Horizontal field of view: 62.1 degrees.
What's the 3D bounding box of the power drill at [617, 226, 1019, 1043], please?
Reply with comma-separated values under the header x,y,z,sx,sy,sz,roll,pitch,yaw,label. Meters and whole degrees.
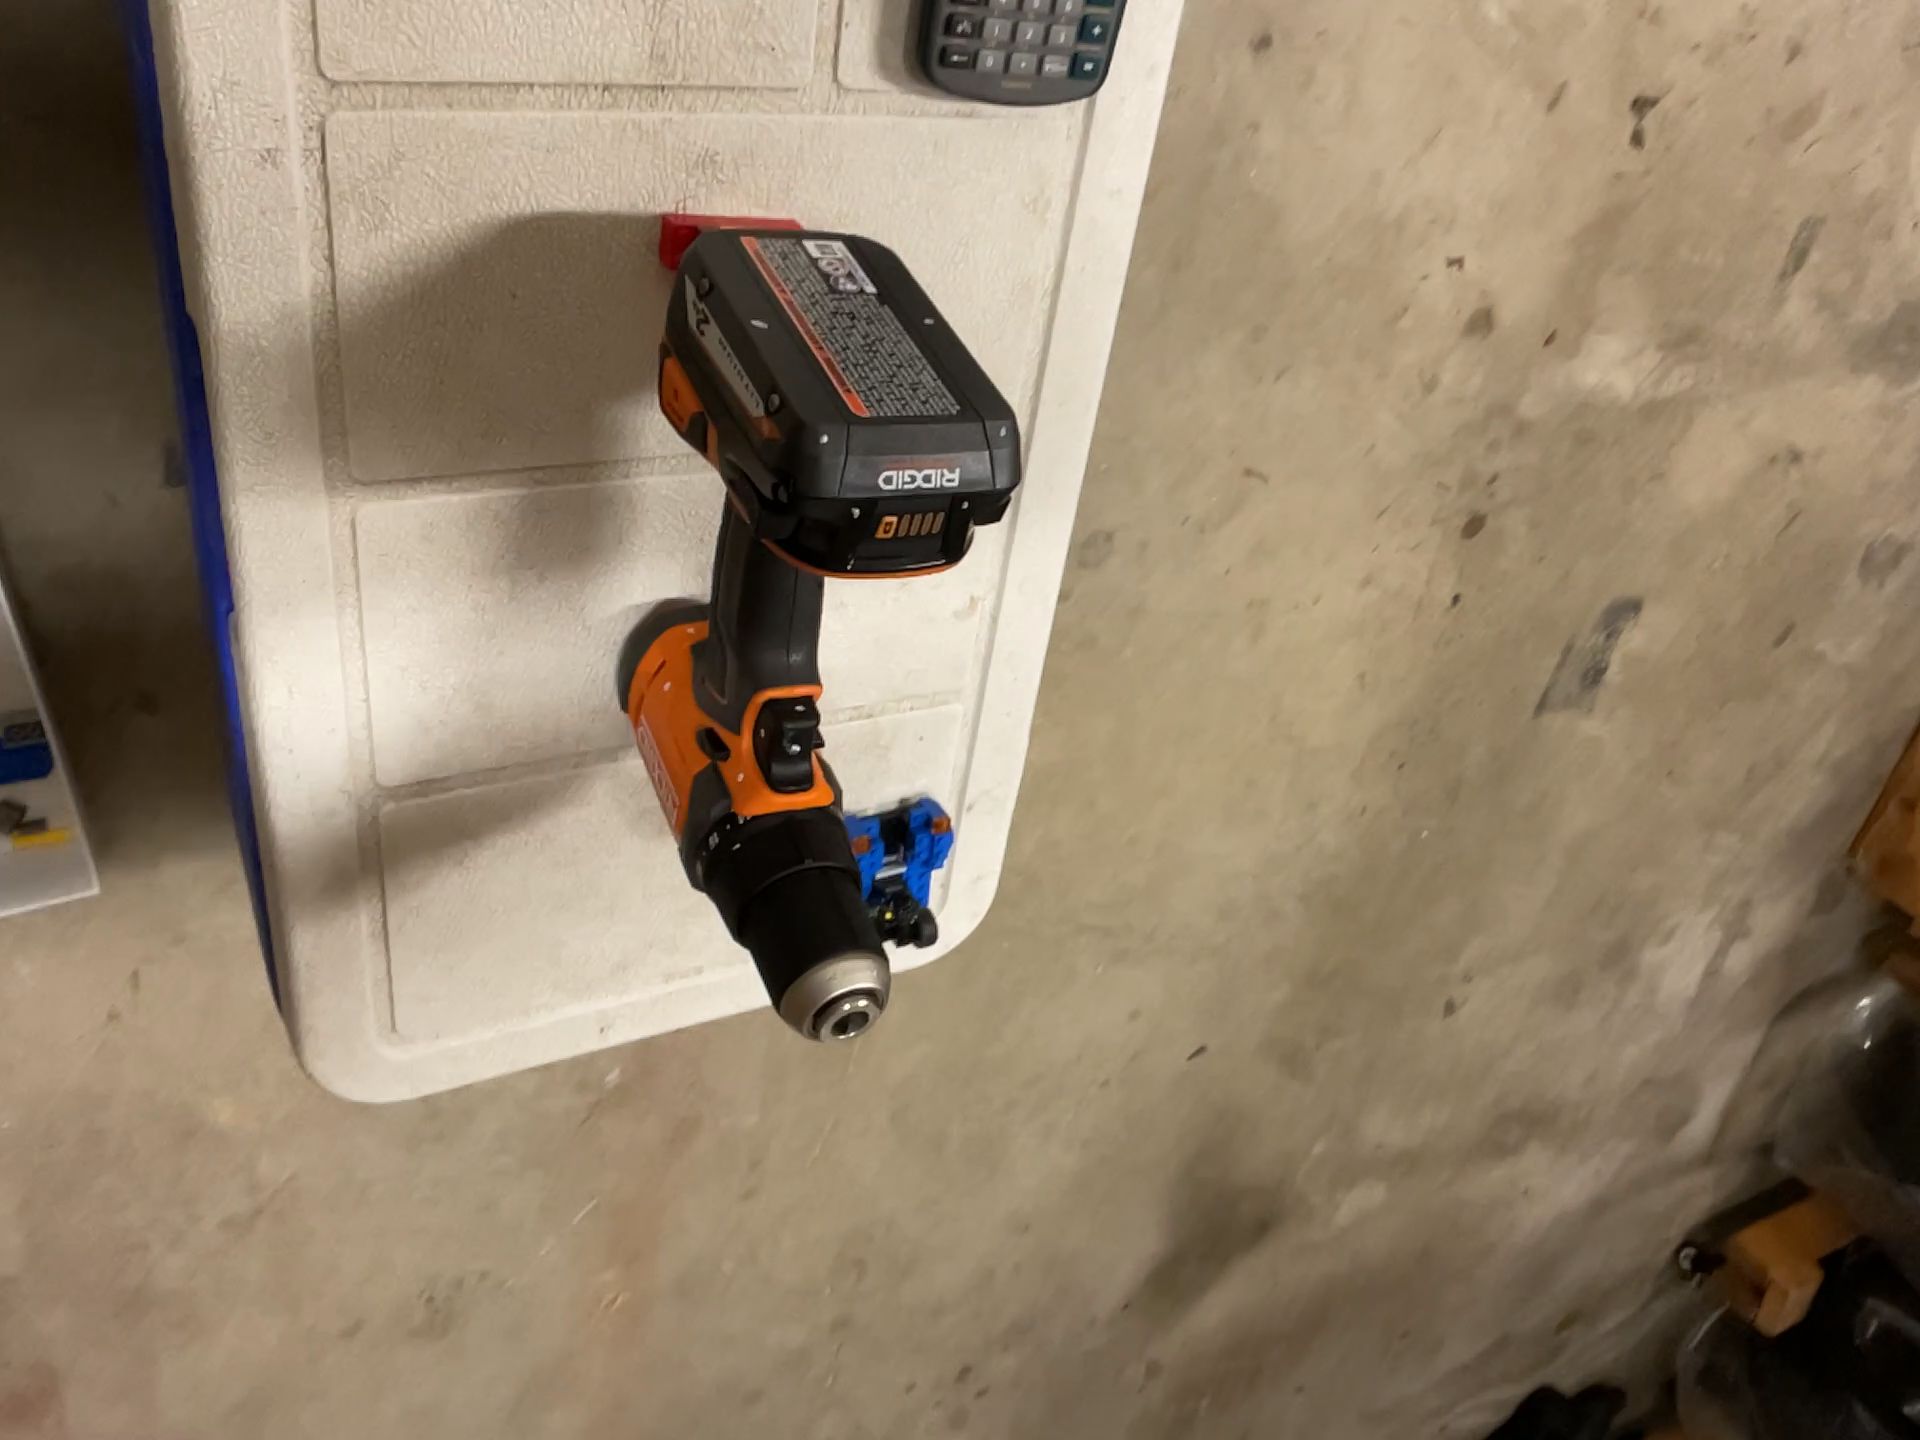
x,y,z,sx,sy,sz,roll,pitch,yaw,label
-0.053,-0.021,0.529,0.084,0.185,0.225,-6,137,-28,power drill
